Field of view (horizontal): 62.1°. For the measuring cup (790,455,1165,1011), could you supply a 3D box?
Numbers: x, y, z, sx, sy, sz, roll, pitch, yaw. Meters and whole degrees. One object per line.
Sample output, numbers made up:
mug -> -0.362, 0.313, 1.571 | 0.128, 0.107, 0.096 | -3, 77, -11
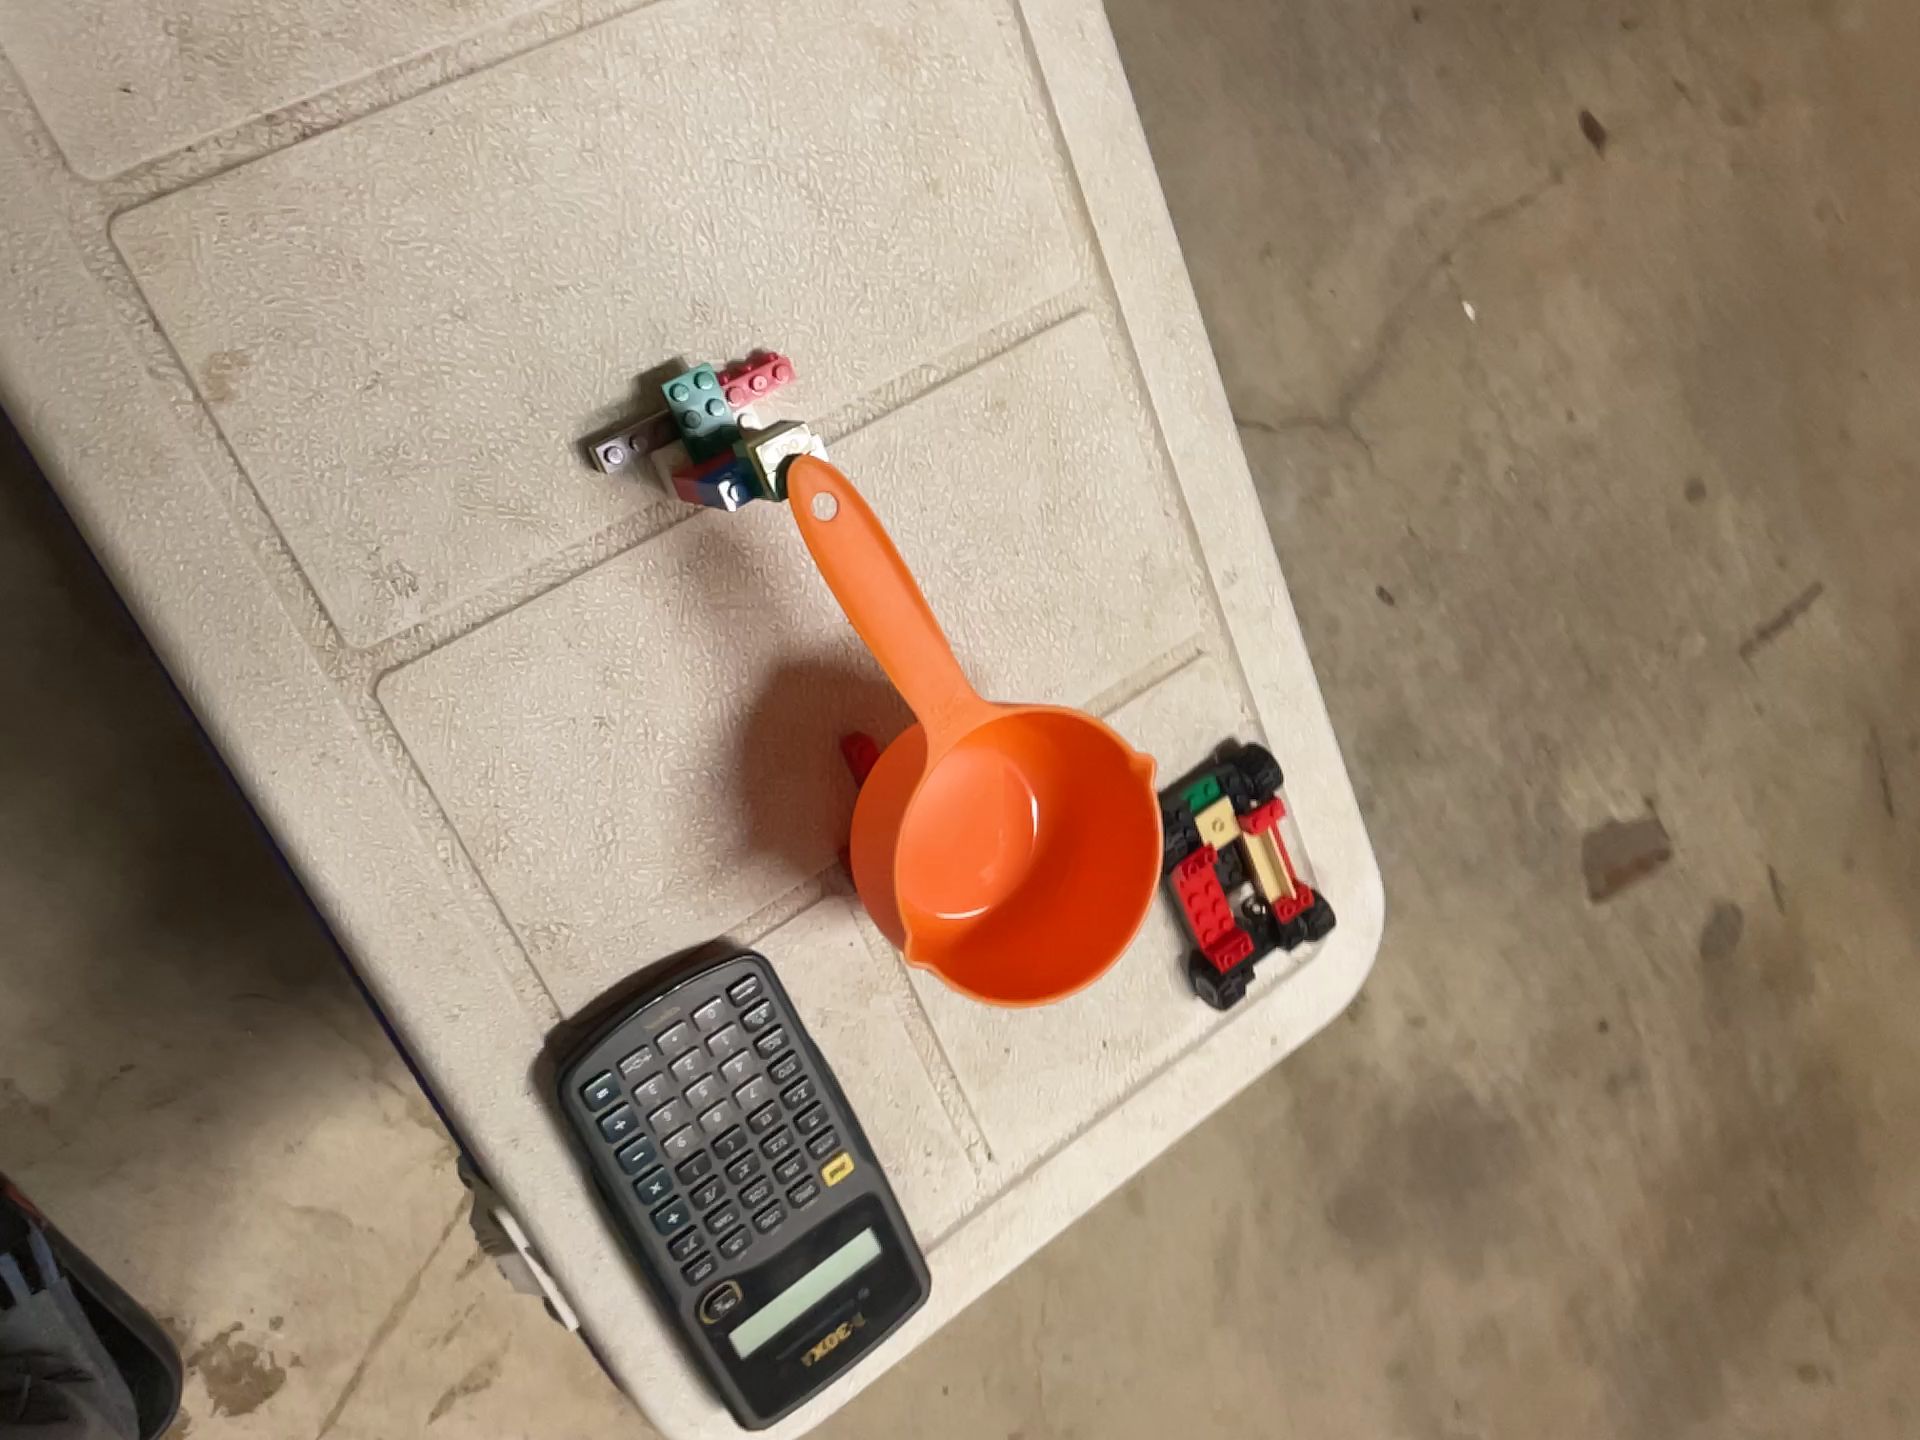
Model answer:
measuring cup -> -0.010, 0.002, 0.458 | 0.095, 0.052, 0.173 | -37, 110, -19
